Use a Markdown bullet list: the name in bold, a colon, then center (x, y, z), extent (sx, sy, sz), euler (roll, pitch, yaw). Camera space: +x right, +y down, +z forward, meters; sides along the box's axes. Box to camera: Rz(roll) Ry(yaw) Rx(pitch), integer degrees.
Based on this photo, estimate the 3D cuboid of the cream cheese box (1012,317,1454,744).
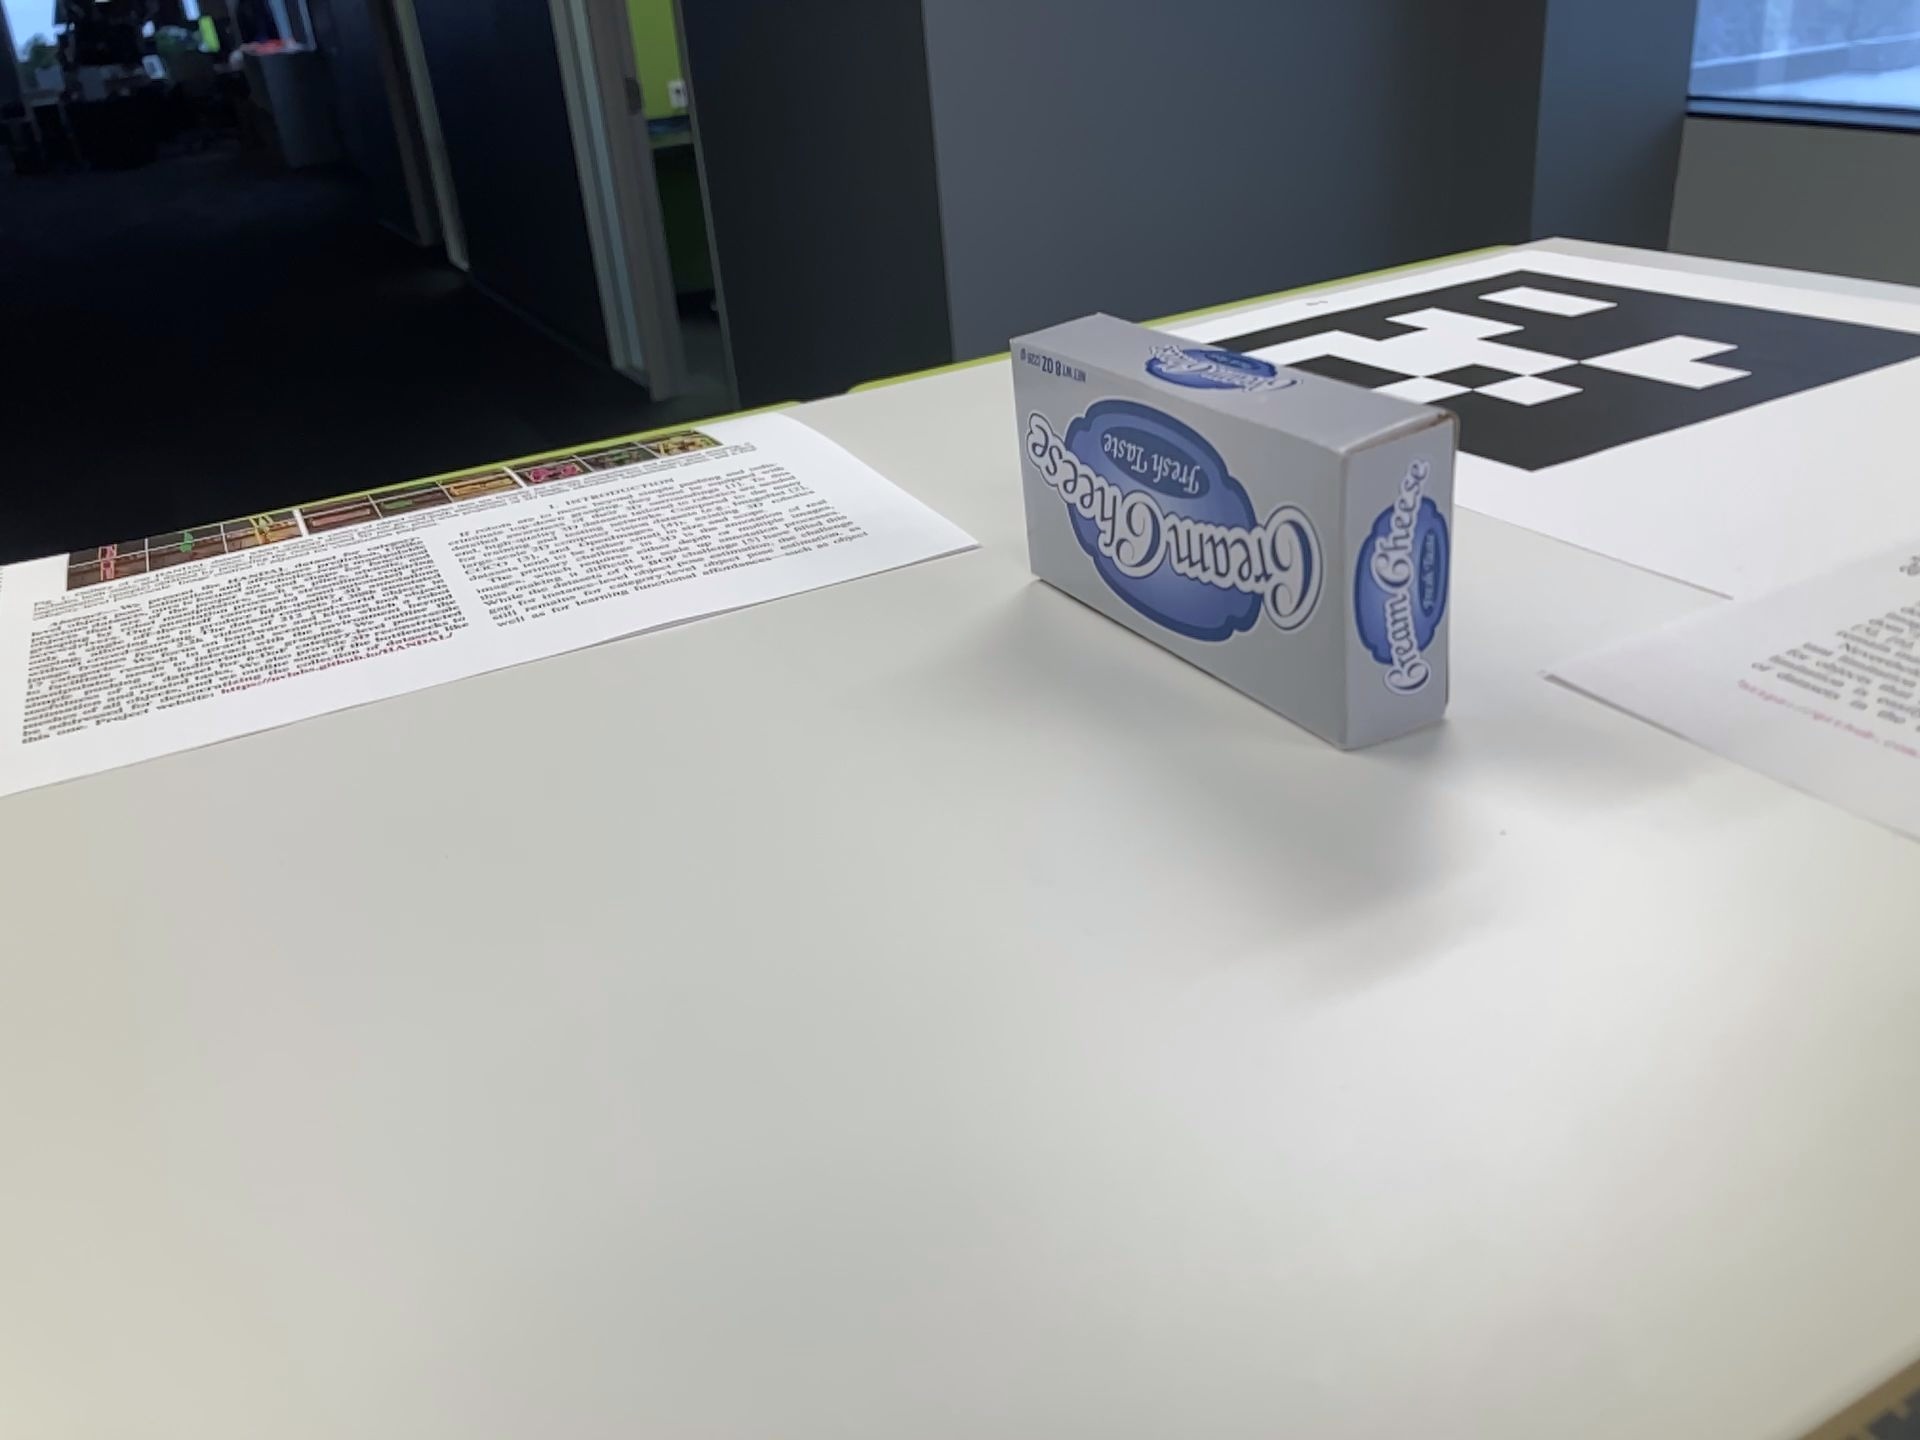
- **cream cheese box**: center (0.047, -0.039, 0.294), extent (0.024, 0.053, 0.104), euler (-19, 29, -22)
